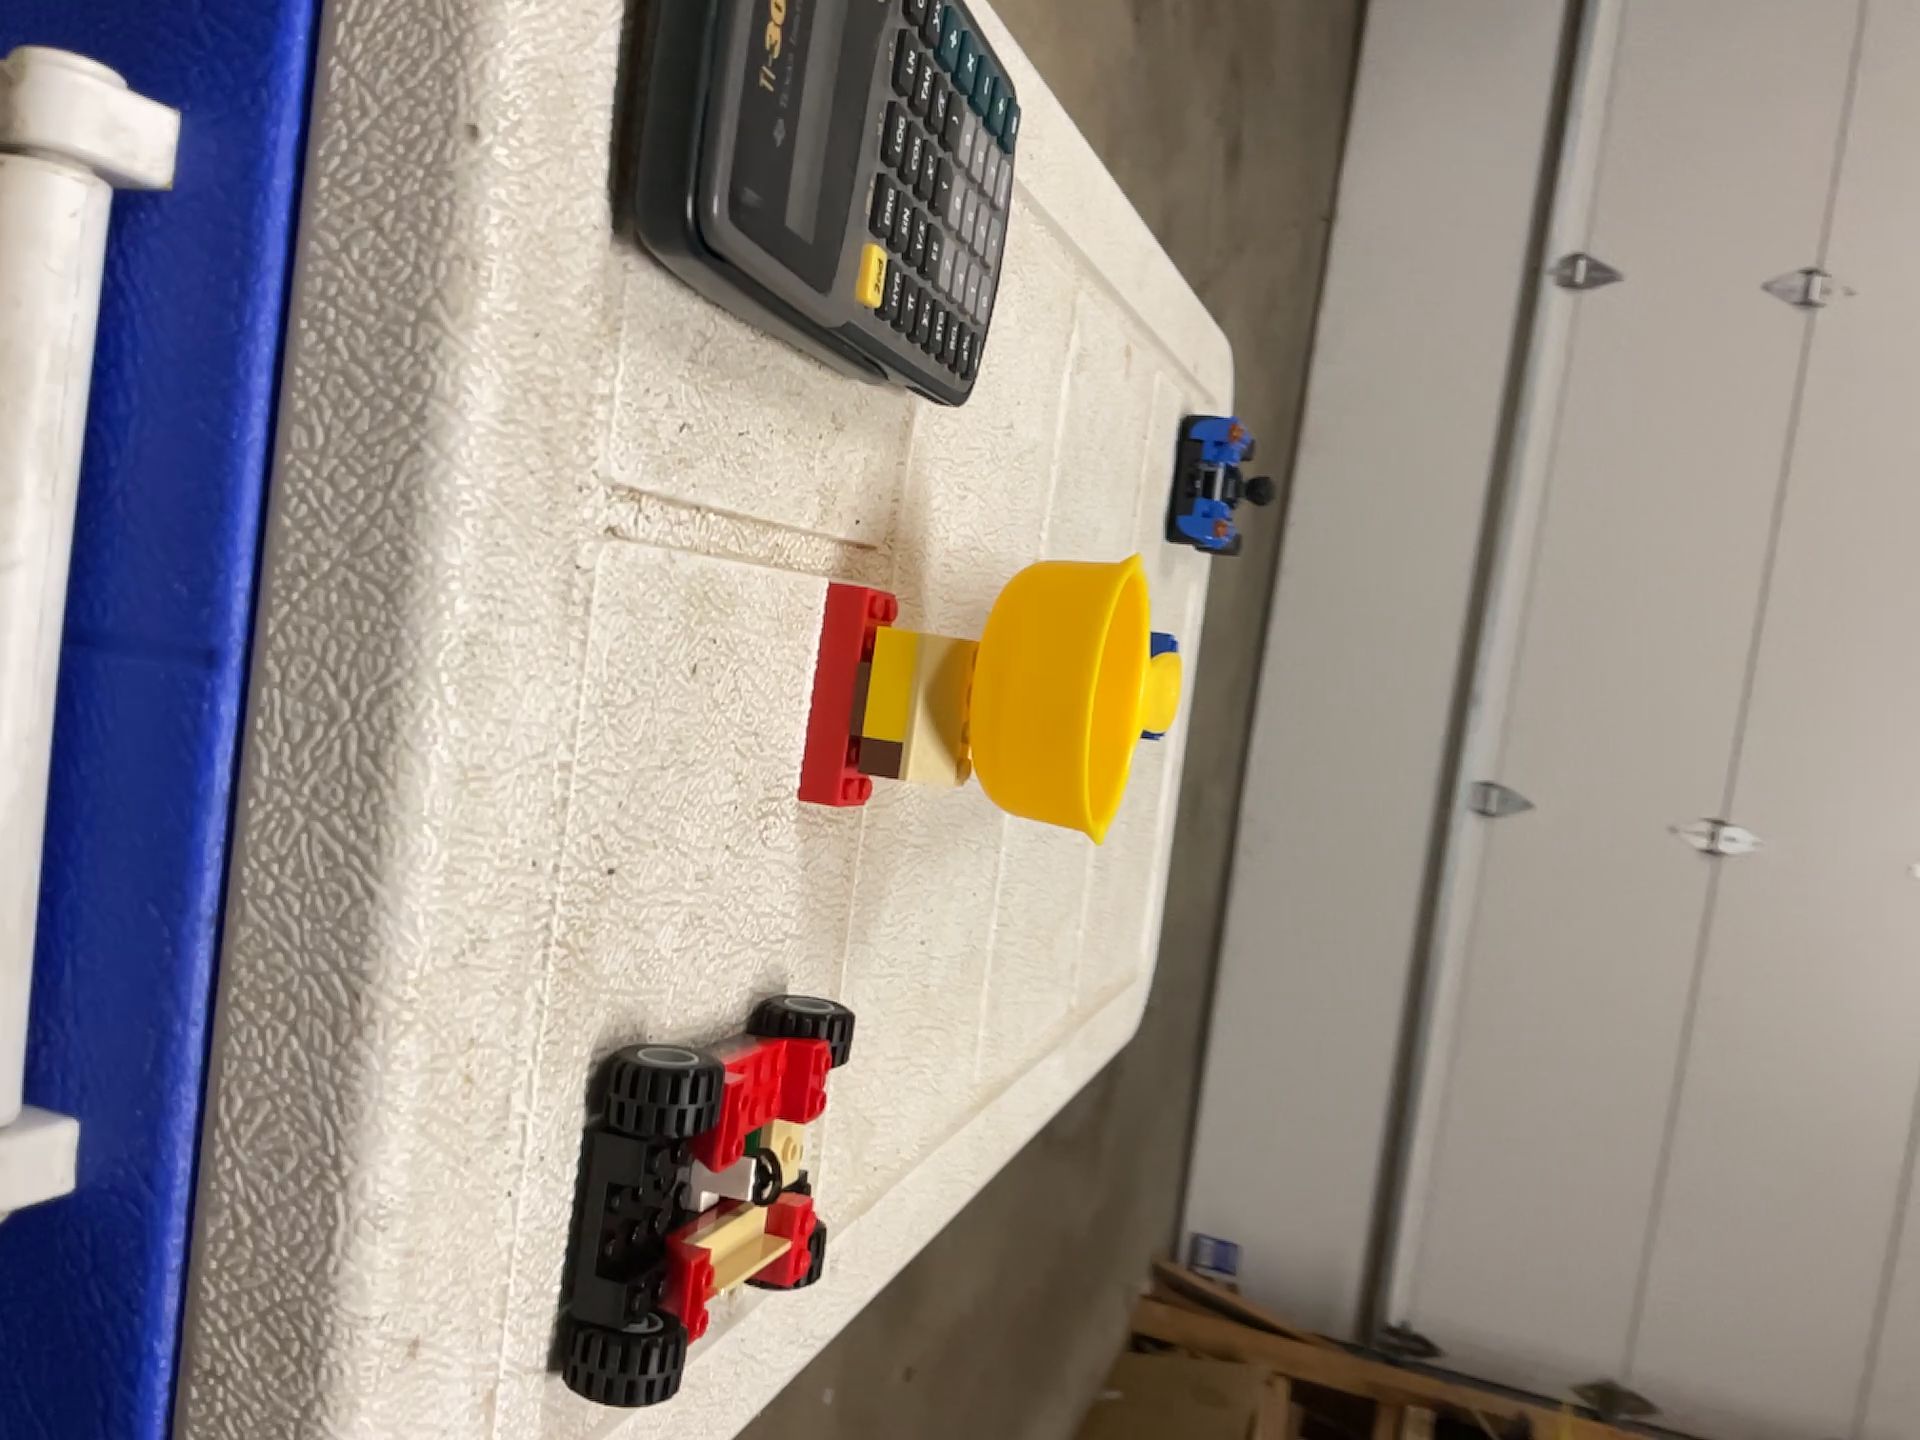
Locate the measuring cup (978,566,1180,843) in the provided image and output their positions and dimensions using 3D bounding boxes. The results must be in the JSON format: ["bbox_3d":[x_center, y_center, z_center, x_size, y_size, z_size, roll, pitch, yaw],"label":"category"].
[{"bbox_3d":[0.035,-0.007,0.405,0.156,0.029,0.062,-7,105,-76],"label":"measuring cup"}]
